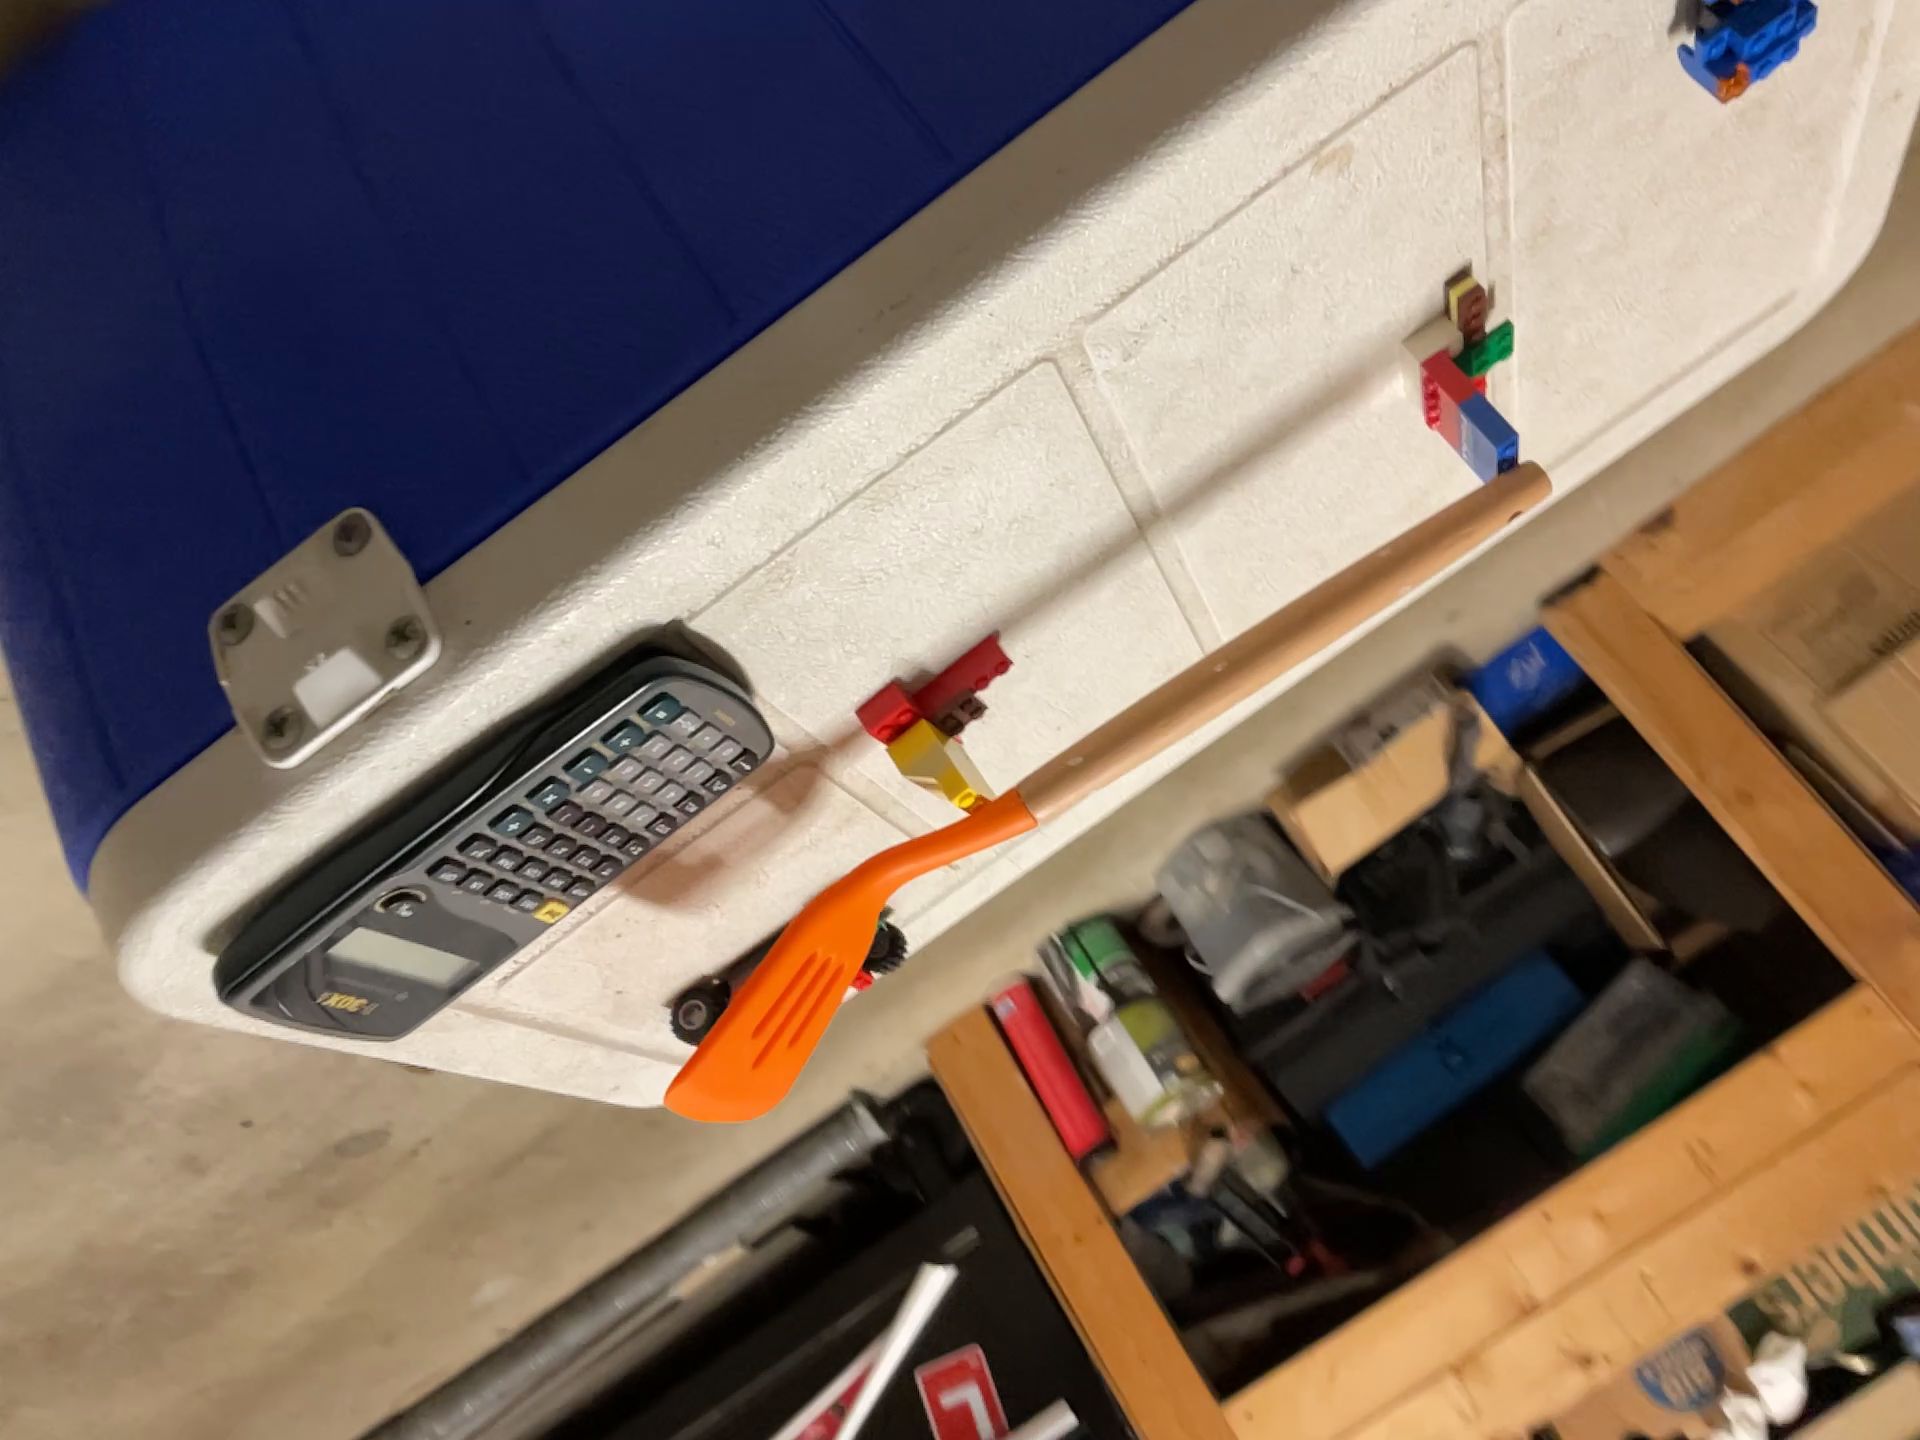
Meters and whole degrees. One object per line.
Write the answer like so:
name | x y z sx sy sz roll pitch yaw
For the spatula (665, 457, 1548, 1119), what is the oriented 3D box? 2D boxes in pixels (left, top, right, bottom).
spatula | 0.046 0.019 0.494 0.322 0.041 0.081 -33 157 3
